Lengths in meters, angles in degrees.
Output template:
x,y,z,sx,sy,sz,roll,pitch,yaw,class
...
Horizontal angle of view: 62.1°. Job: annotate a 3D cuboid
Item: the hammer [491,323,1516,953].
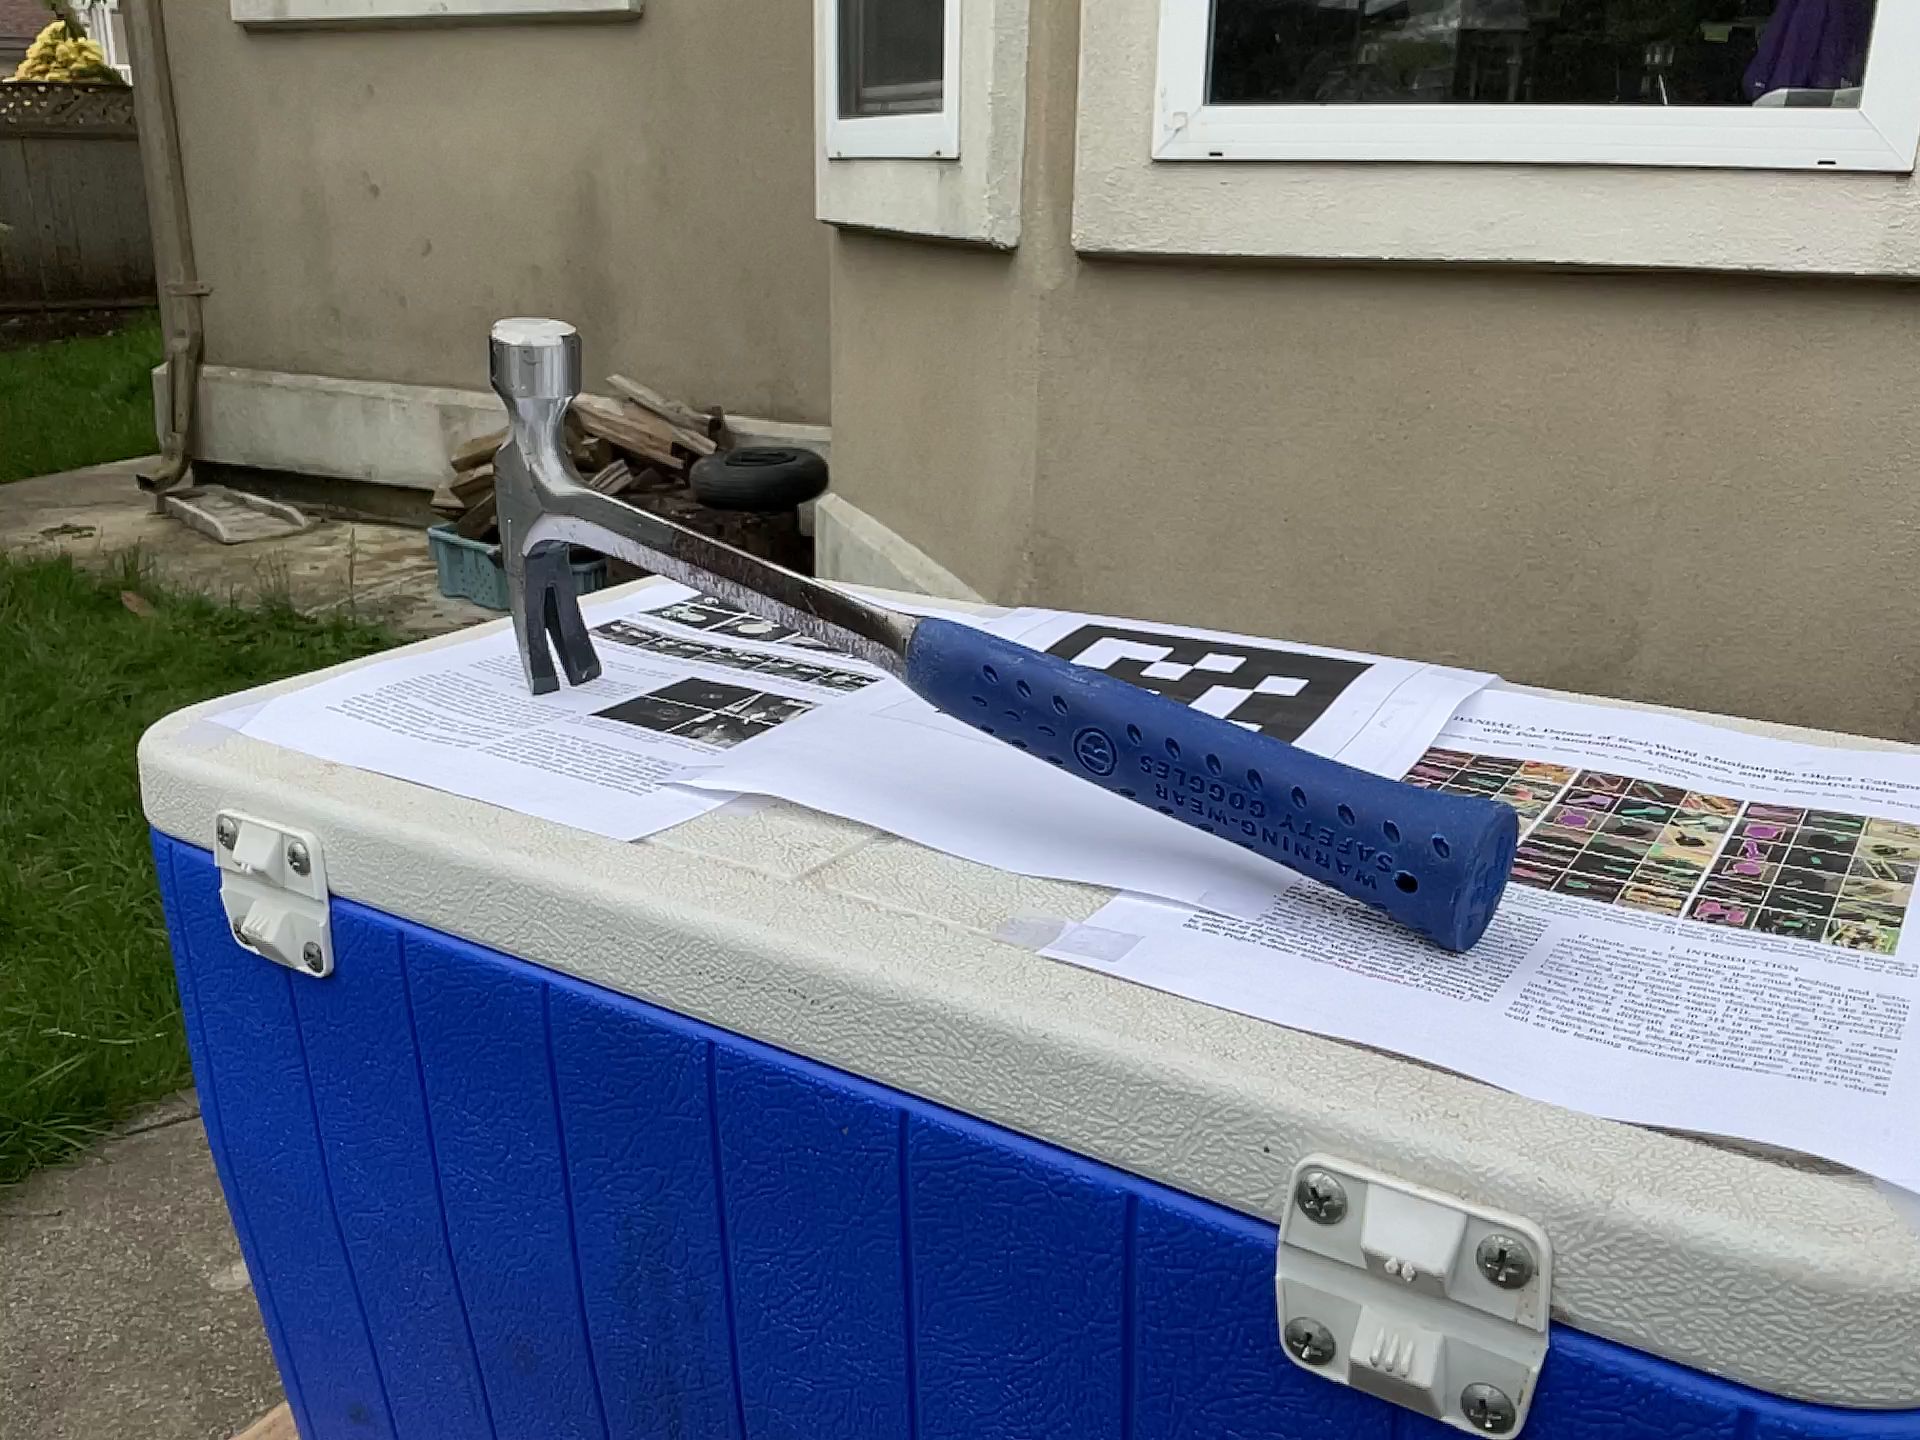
x,y,z,sx,sy,sz,roll,pitch,yaw,class
-0.021,-0.019,0.526,0.405,0.144,0.035,23,30,33,hammer
